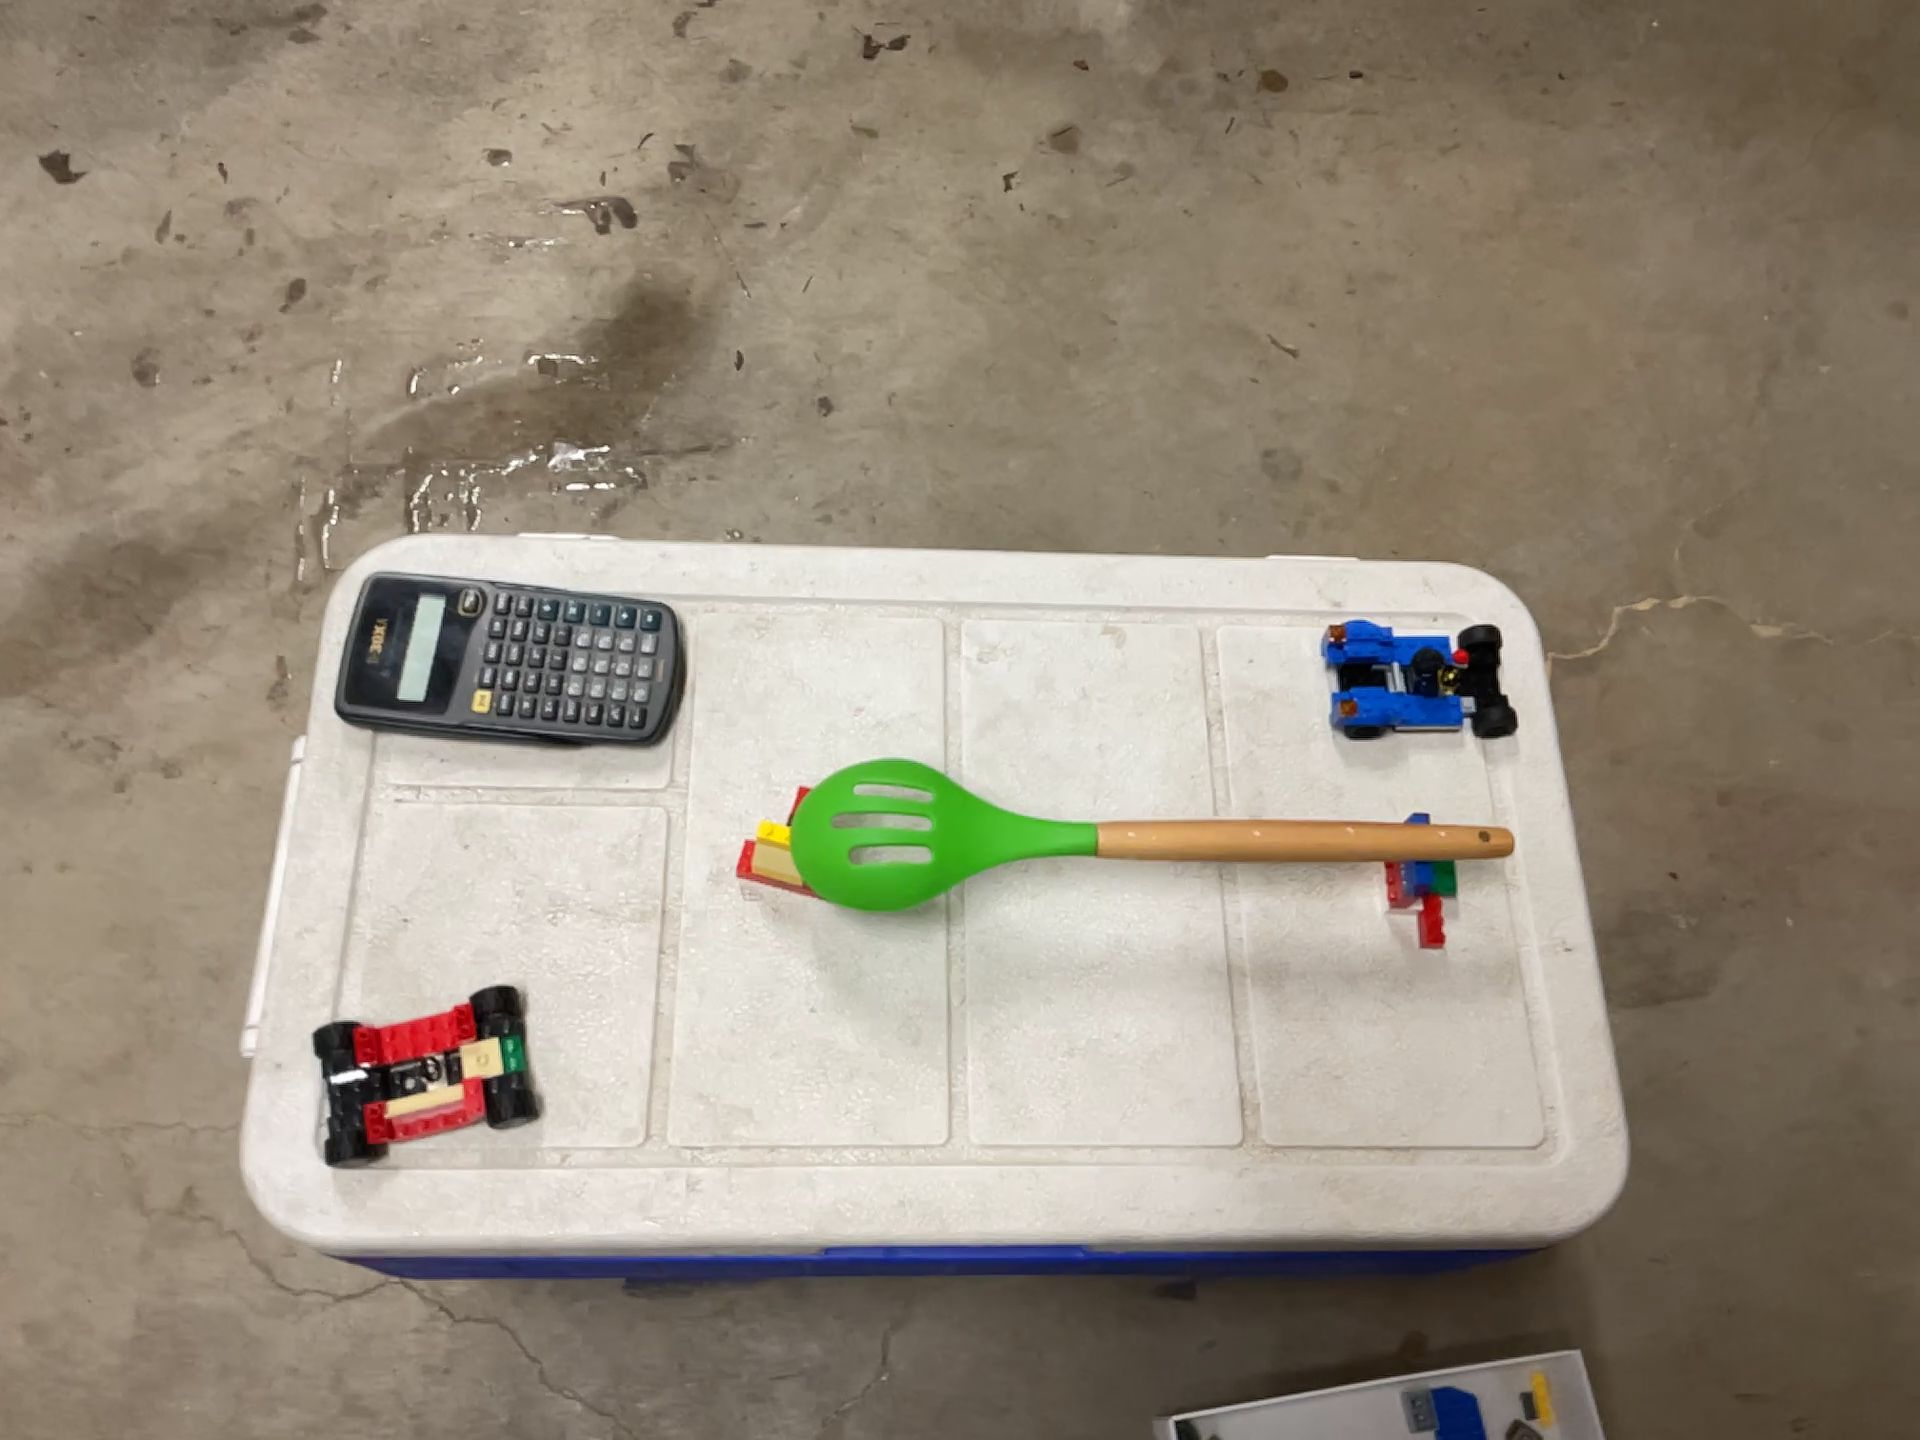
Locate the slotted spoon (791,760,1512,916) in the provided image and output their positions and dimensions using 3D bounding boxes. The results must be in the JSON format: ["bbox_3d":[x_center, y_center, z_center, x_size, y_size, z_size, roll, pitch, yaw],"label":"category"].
[{"bbox_3d":[0.084,0.050,0.690,0.313,0.031,0.070,1,66,-4],"label":"slotted spoon"}]
